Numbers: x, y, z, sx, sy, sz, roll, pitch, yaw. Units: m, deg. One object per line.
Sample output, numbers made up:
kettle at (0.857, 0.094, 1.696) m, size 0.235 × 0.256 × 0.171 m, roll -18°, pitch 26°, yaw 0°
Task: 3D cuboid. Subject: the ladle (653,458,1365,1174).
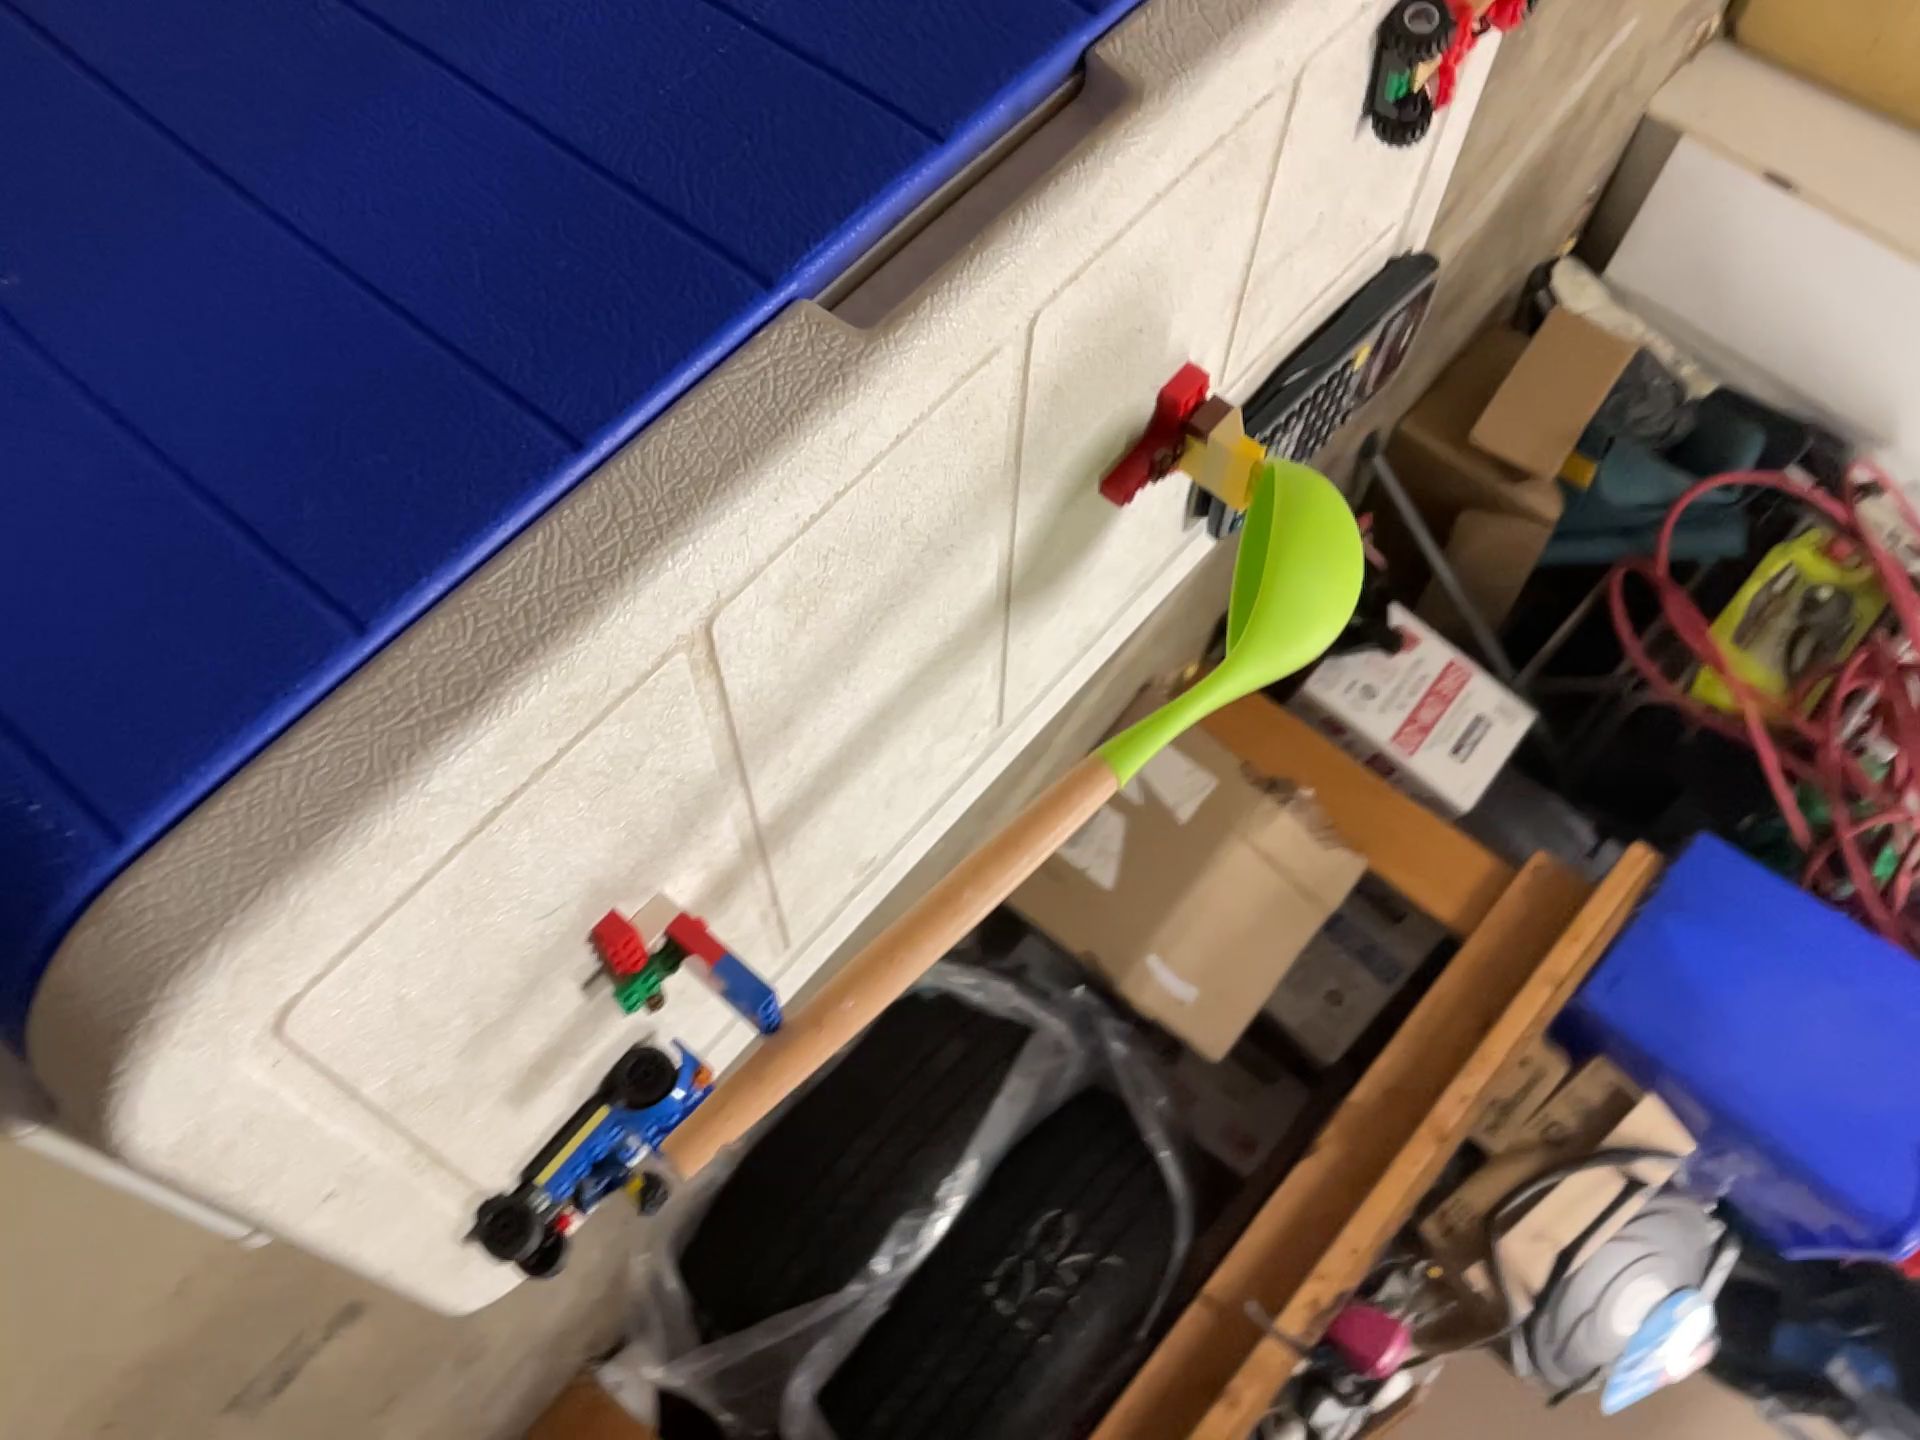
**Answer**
ladle at (0.021, 0.025, 0.527) m, size 0.320 × 0.062 × 0.078 m, roll -40°, pitch 166°, yaw -18°
